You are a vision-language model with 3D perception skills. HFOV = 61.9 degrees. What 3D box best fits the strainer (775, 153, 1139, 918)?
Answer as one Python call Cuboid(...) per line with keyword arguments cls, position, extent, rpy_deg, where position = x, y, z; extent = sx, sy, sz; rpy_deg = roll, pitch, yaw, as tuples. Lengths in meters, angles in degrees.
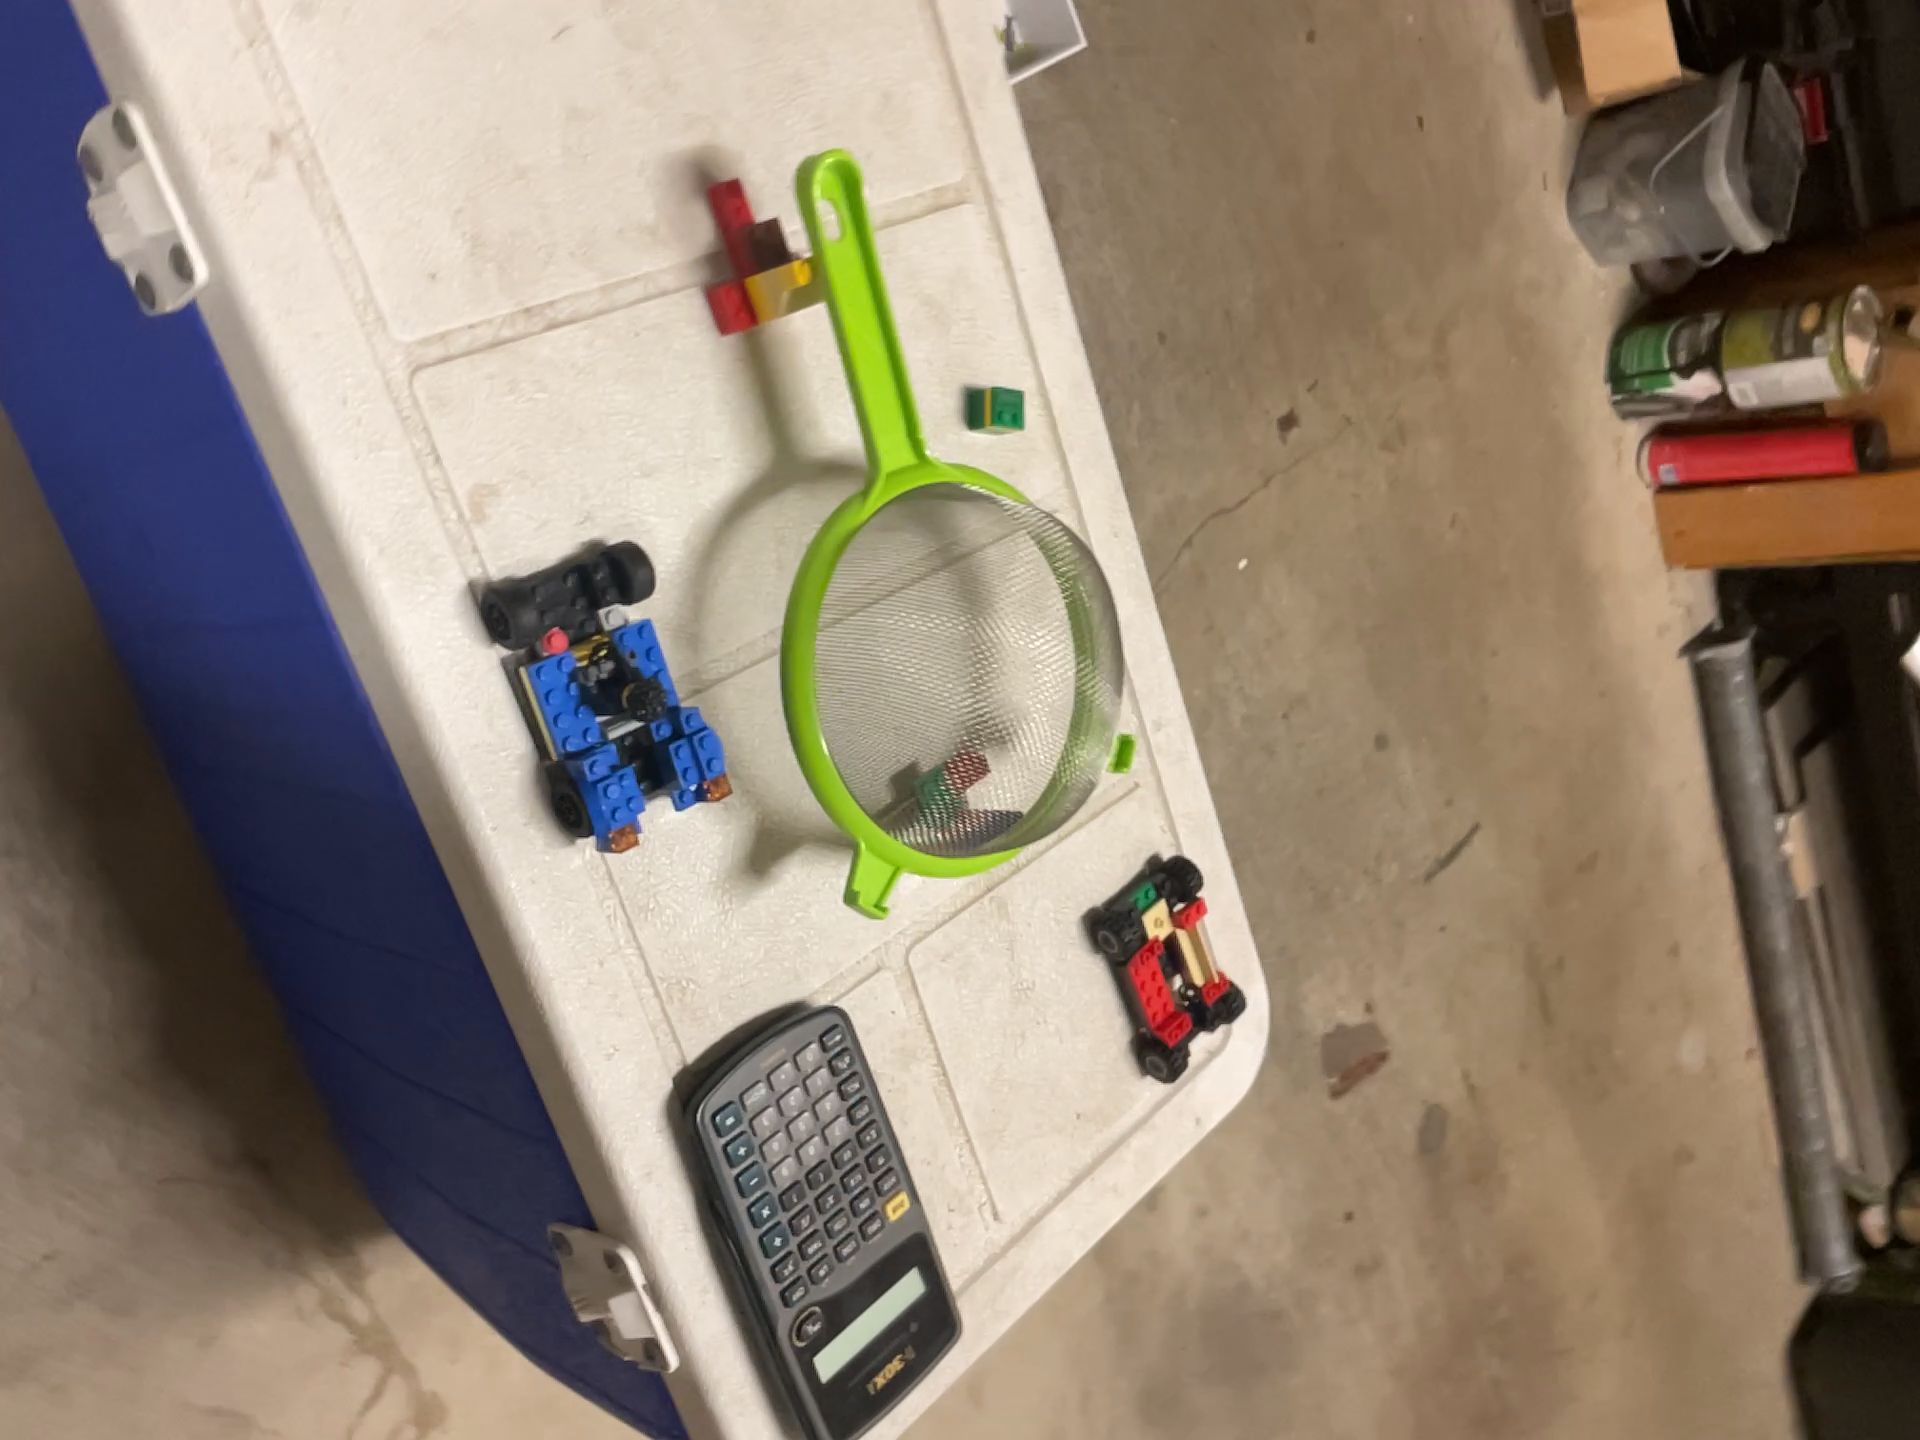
Cuboid(cls="strainer", position=(0.001, -0.067, 0.548), extent=(0.151, 0.069, 0.256), rpy_deg=(-27, 109, -38))
